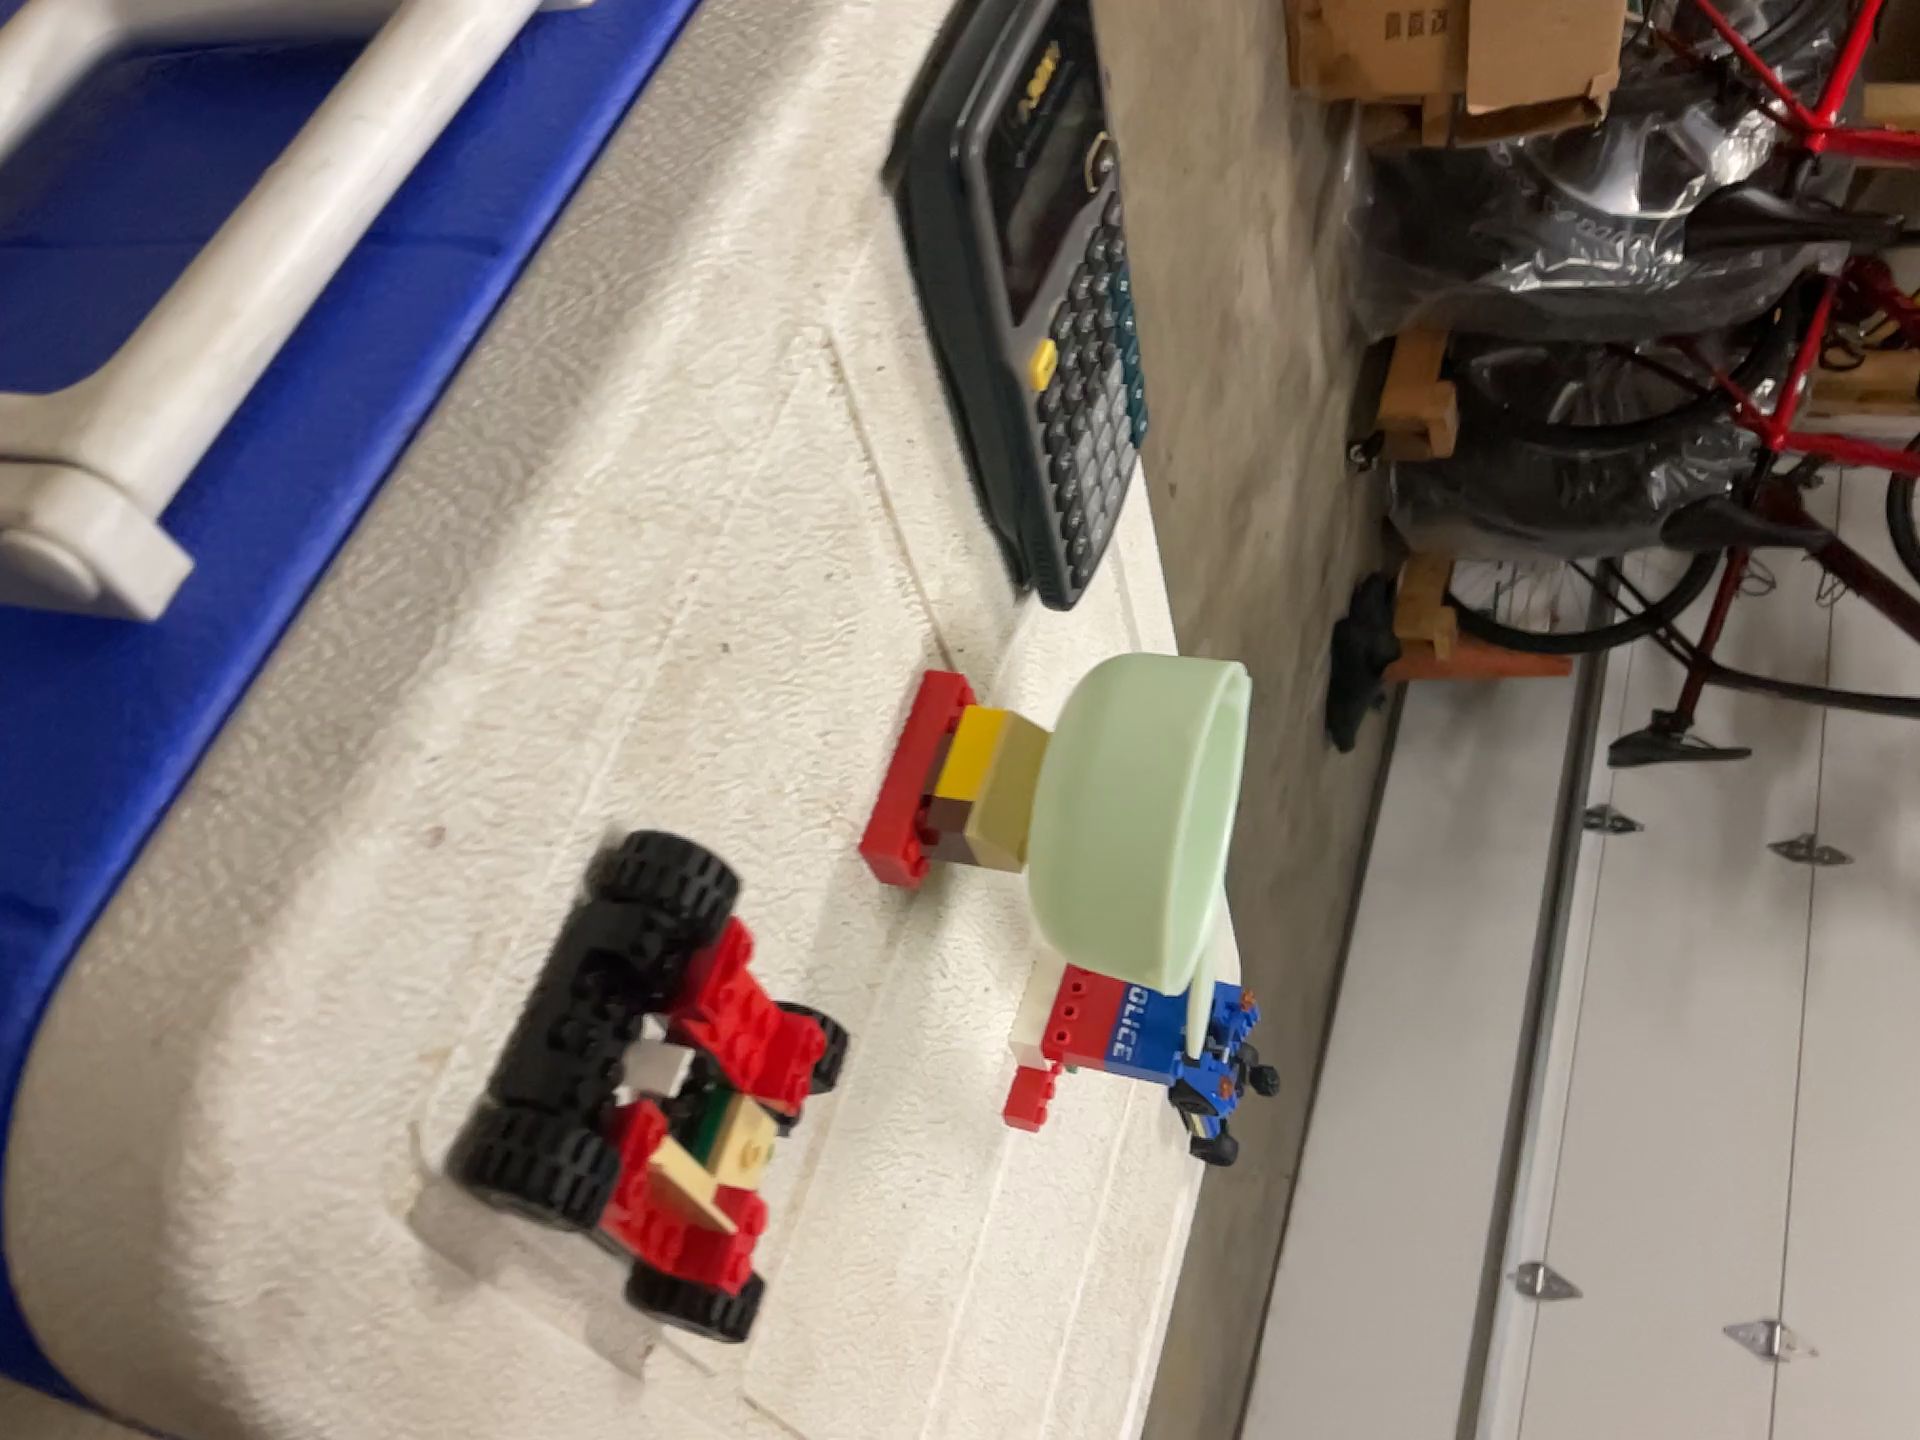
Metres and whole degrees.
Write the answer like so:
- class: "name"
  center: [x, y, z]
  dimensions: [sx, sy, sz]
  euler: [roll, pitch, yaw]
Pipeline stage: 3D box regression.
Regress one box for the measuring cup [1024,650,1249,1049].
- class: "measuring cup"
  center: [0.046, 0.045, 0.401]
  dimensions: [0.167, 0.038, 0.083]
  euler: [75, 29, -57]
